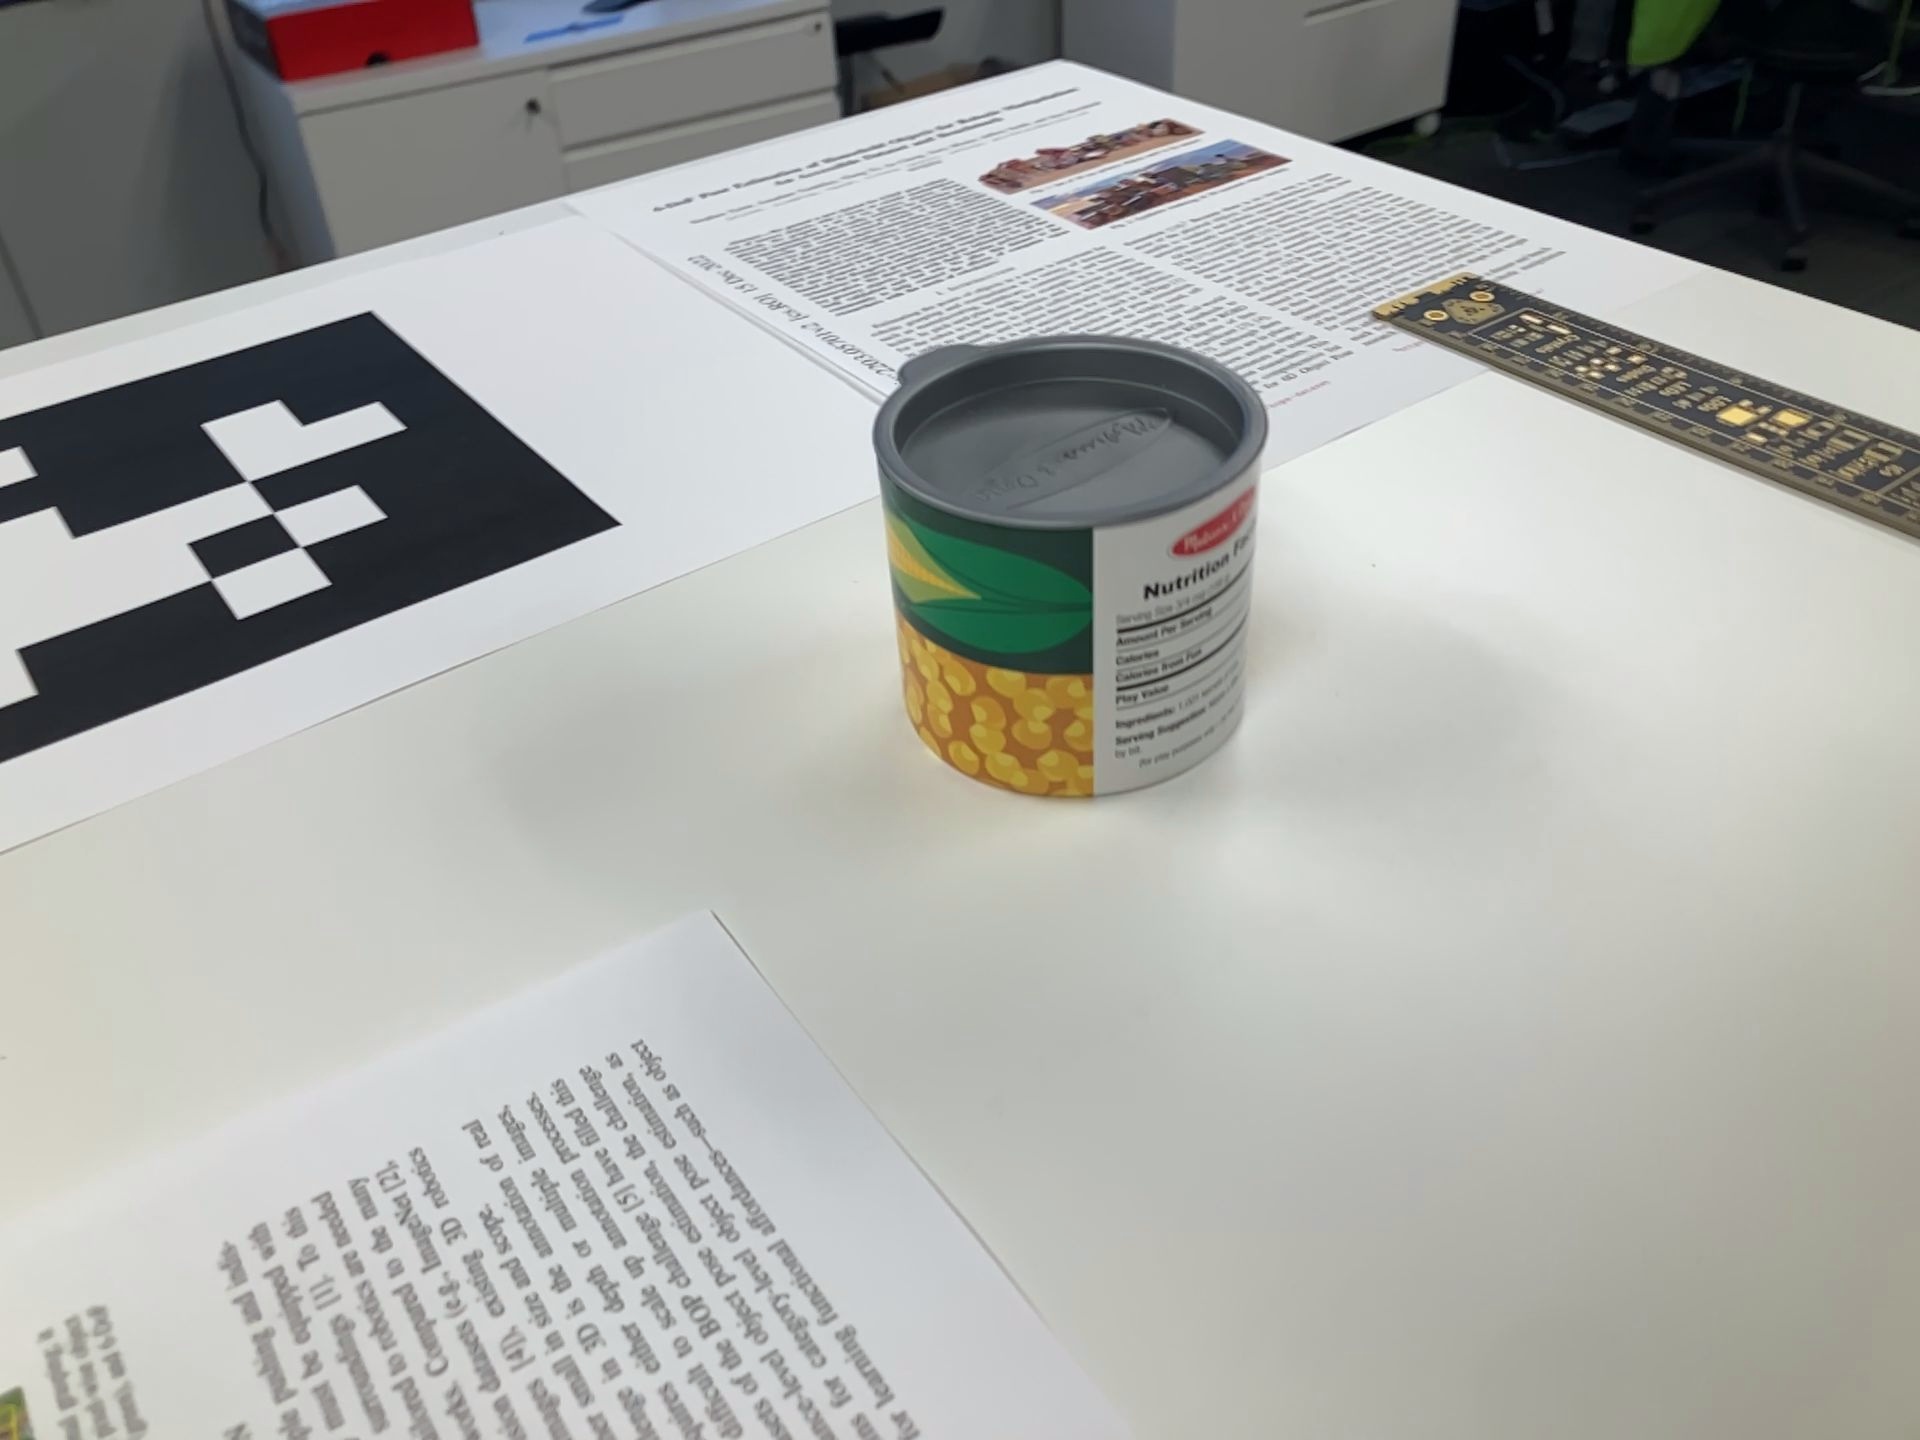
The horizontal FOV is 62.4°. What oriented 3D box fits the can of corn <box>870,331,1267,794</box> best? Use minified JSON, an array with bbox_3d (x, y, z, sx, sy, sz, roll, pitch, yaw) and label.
[{"bbox_3d":[0.018,-0.030,0.285,0.071,0.058,0.071,-3,37,2],"label":"can of corn"}]
